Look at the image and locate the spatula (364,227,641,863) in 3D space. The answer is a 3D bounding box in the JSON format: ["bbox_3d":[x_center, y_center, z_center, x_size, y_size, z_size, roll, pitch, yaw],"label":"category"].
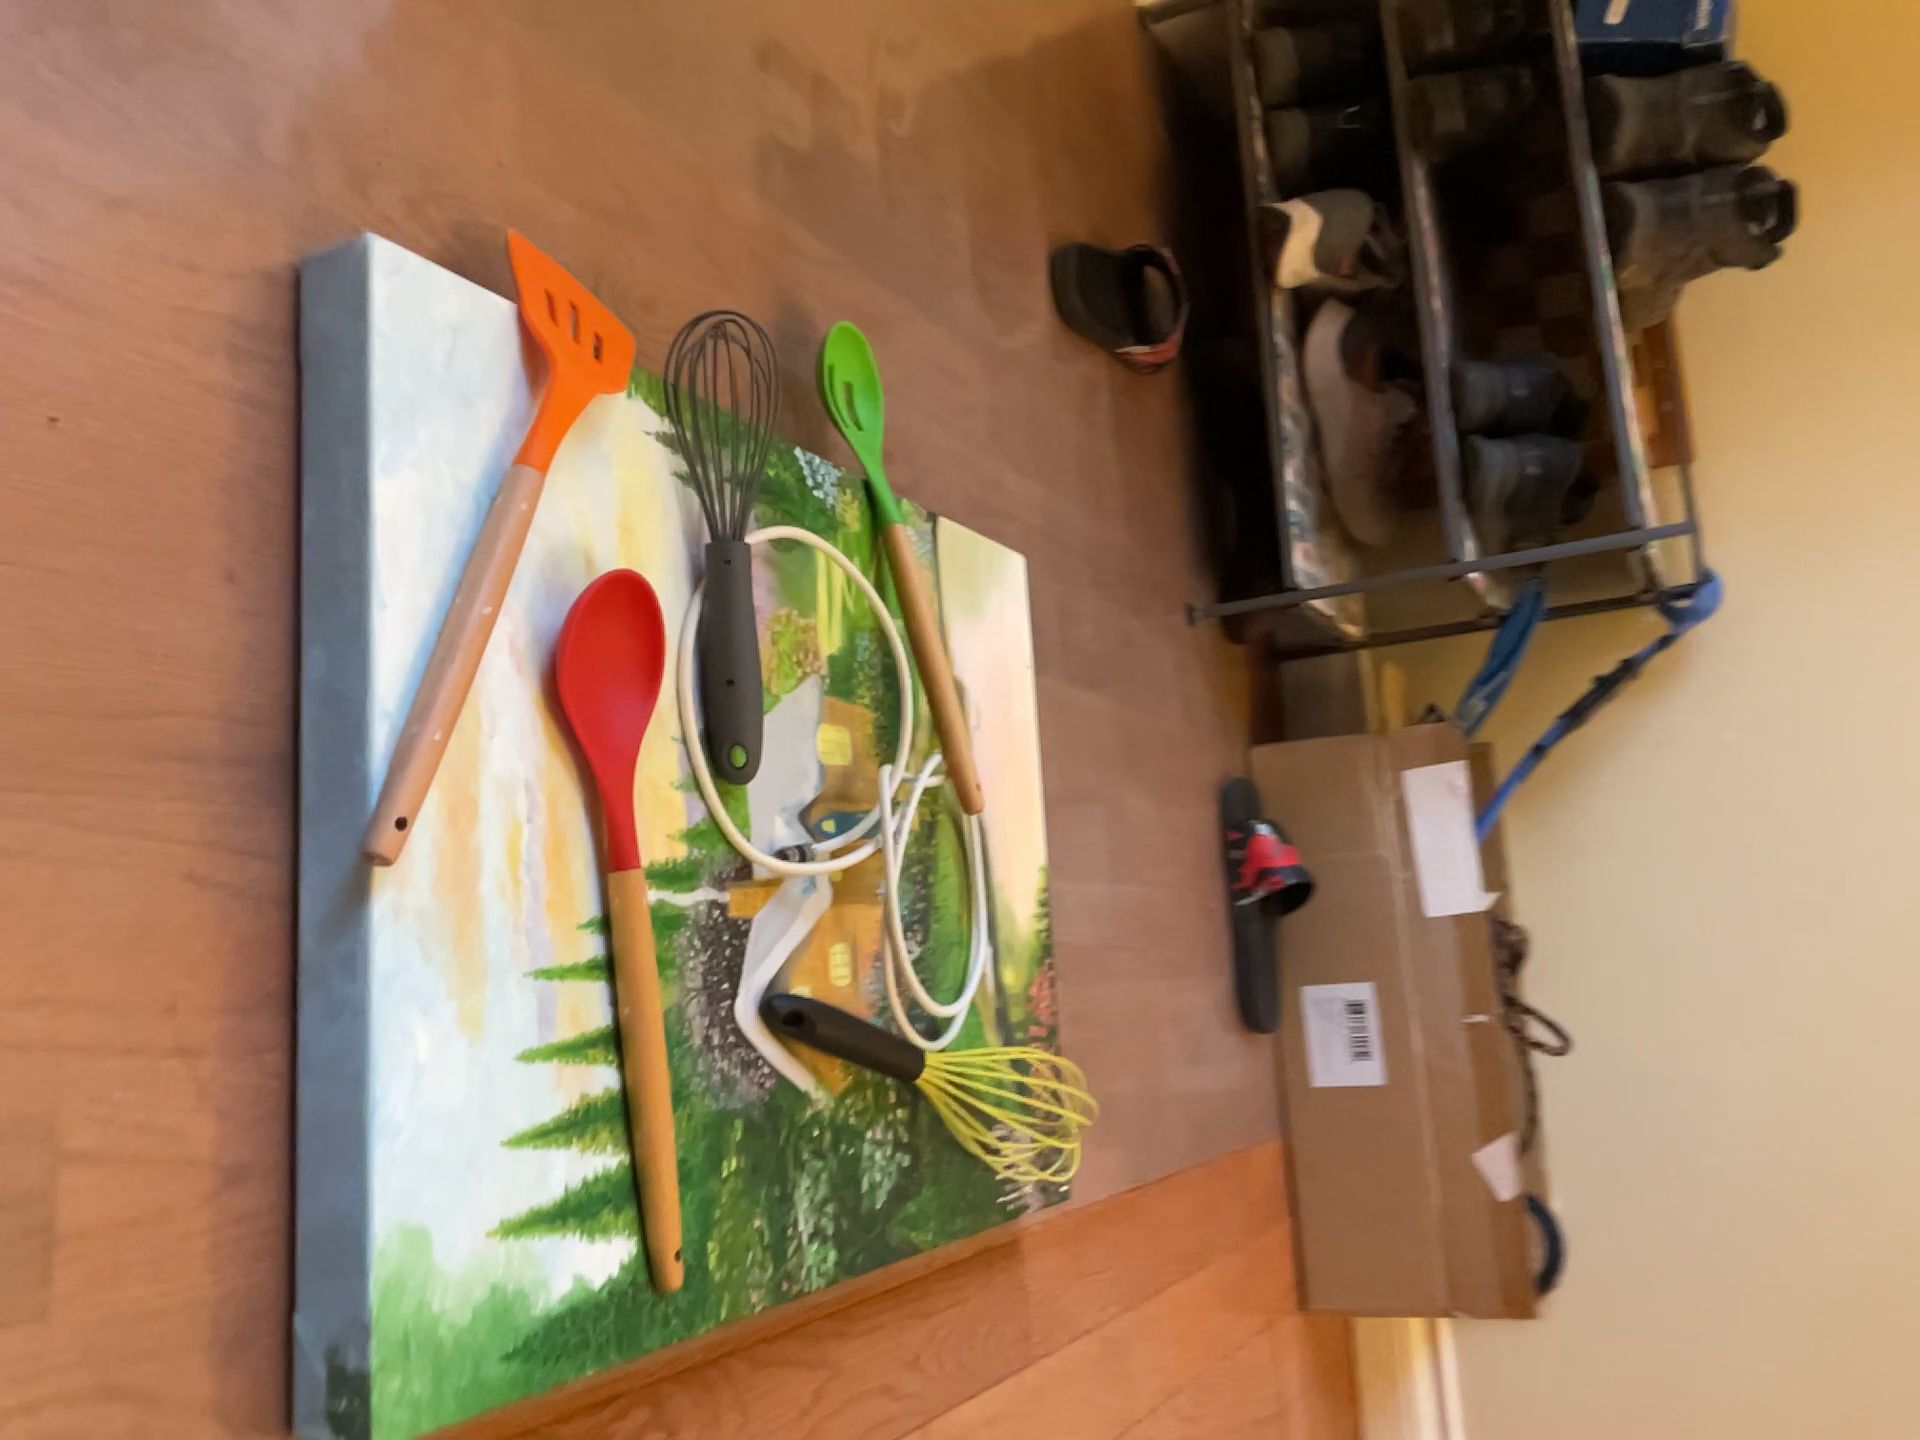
[{"bbox_3d":[-0.196,-0.083,0.677,0.080,0.041,0.323,40,49,-39],"label":"spatula"}]

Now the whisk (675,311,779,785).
[{"bbox_3d":[-0.114,-0.087,0.799,0.055,0.055,0.239,-3,91,-53],"label":"whisk"}]

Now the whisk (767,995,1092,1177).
[{"bbox_3d":[-0.012,0.205,0.915,0.311,0.067,0.080,36,46,-48],"label":"whisk"}]

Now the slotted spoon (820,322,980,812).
[{"bbox_3d":[-0.036,-0.095,0.965,0.070,0.031,0.314,10,62,-63],"label":"slotted spoon"}]

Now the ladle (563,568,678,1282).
[{"bbox_3d":[-0.144,0.091,0.707,0.069,0.031,0.315,-3,88,-63],"label":"ladle"}]
